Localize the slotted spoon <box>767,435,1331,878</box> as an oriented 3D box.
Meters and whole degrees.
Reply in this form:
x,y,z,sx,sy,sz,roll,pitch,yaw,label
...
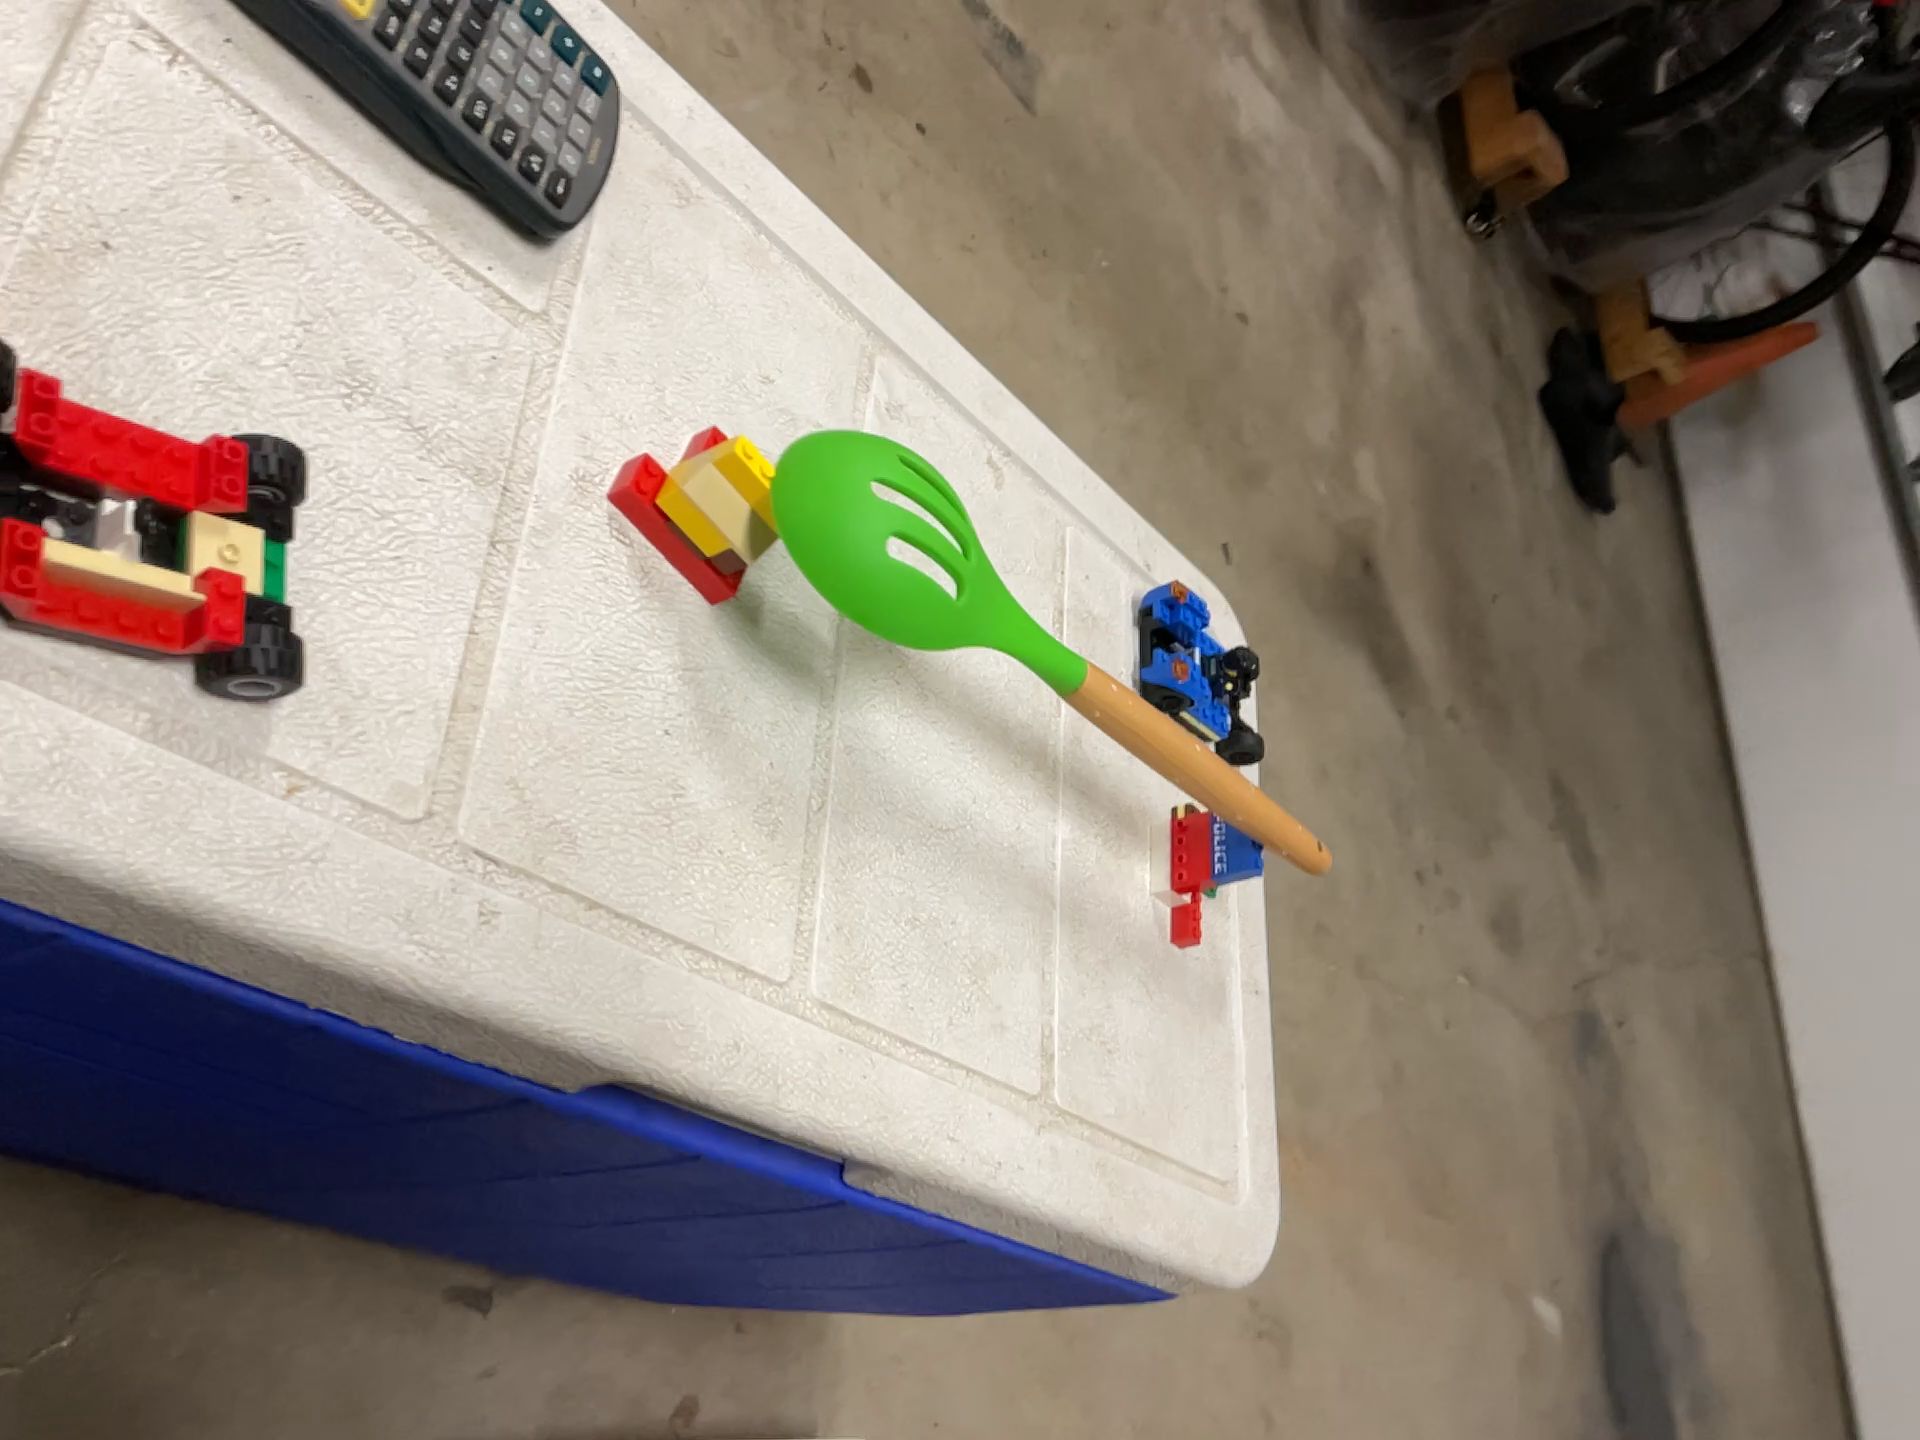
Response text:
x,y,z,sx,sy,sz,roll,pitch,yaw,label
0.053,-0.006,0.557,0.313,0.031,0.070,34,48,-42,slotted spoon
